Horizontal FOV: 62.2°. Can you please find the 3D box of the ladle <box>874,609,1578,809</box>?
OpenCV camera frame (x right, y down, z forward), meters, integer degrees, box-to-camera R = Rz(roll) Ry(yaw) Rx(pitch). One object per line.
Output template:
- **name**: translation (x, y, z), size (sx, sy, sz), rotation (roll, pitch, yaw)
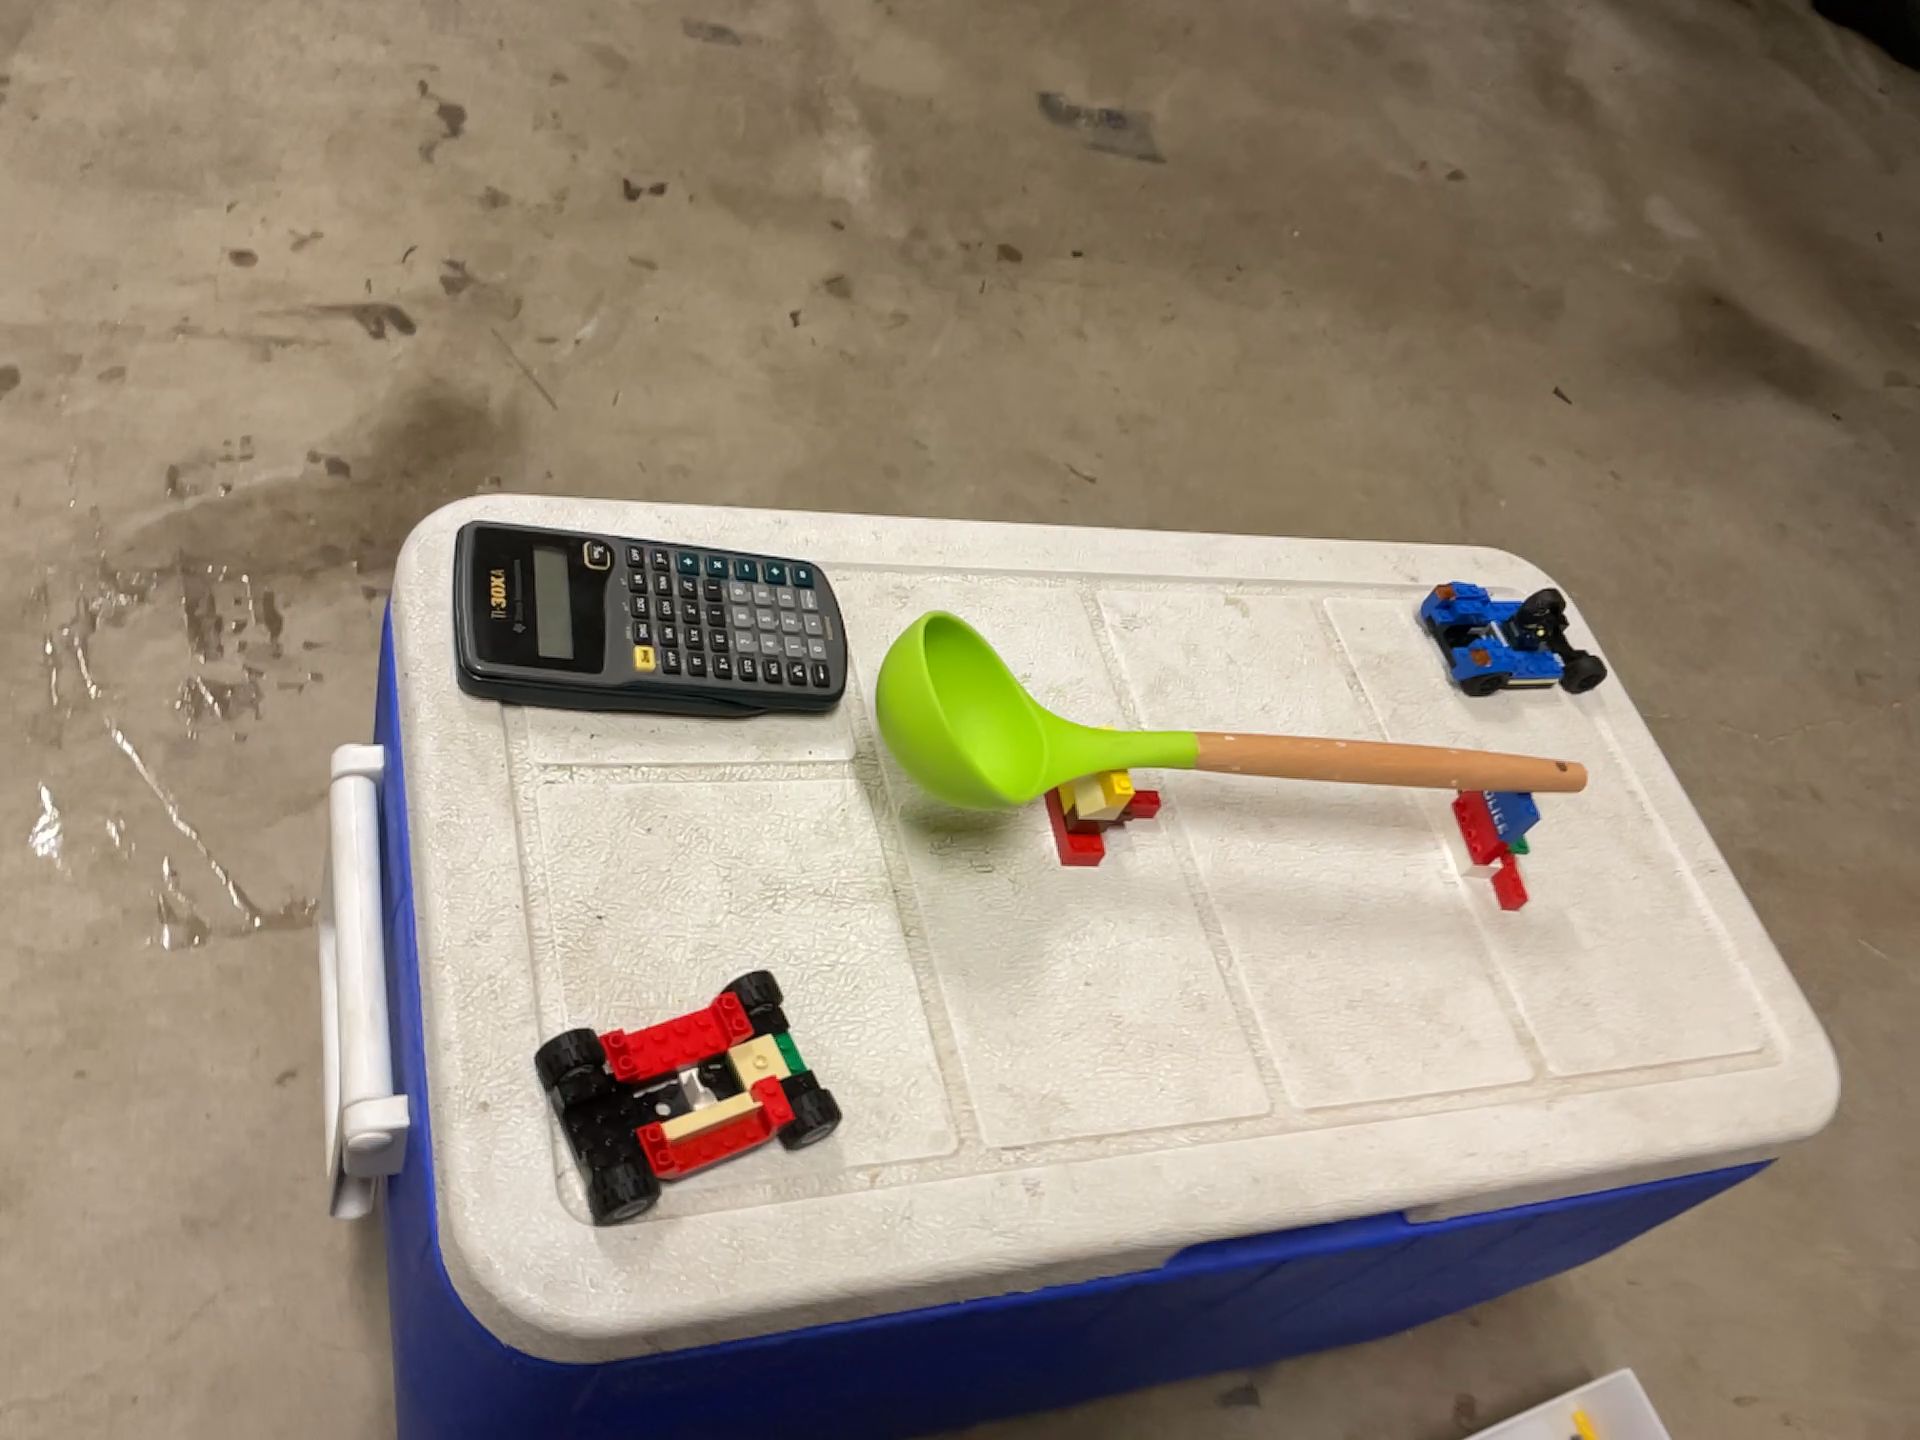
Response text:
- **ladle**: translation (0.119, 0.007, 0.633), size (0.320, 0.062, 0.078), rotation (5, 52, -19)
